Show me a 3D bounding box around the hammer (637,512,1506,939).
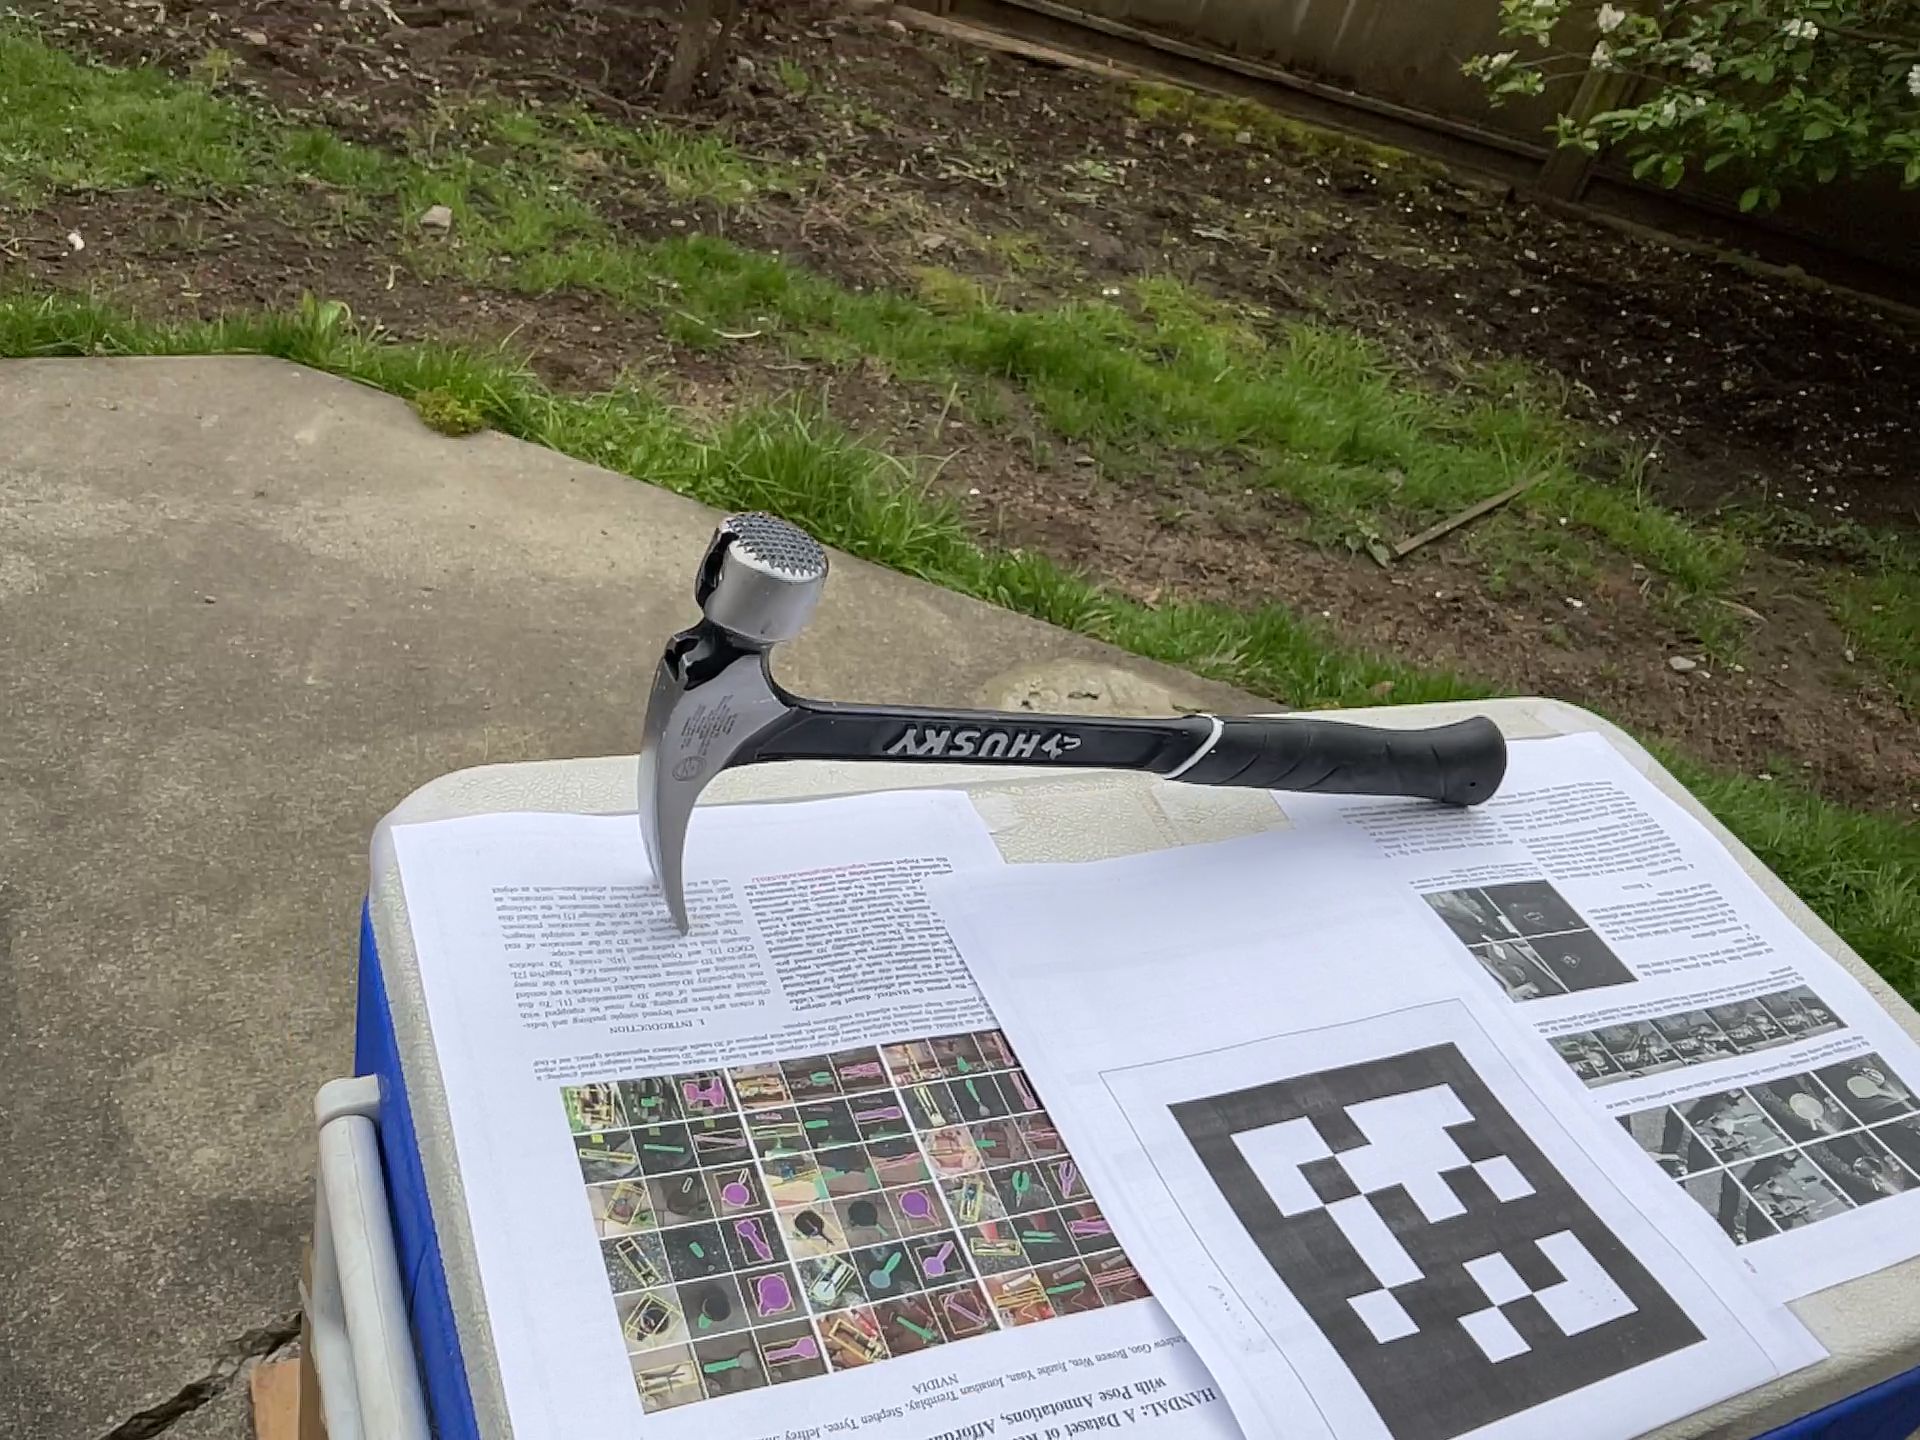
[{"bbox_3d":[0.069,0.015,0.606,0.408,0.149,0.036,4,37,-35],"label":"hammer"}]
